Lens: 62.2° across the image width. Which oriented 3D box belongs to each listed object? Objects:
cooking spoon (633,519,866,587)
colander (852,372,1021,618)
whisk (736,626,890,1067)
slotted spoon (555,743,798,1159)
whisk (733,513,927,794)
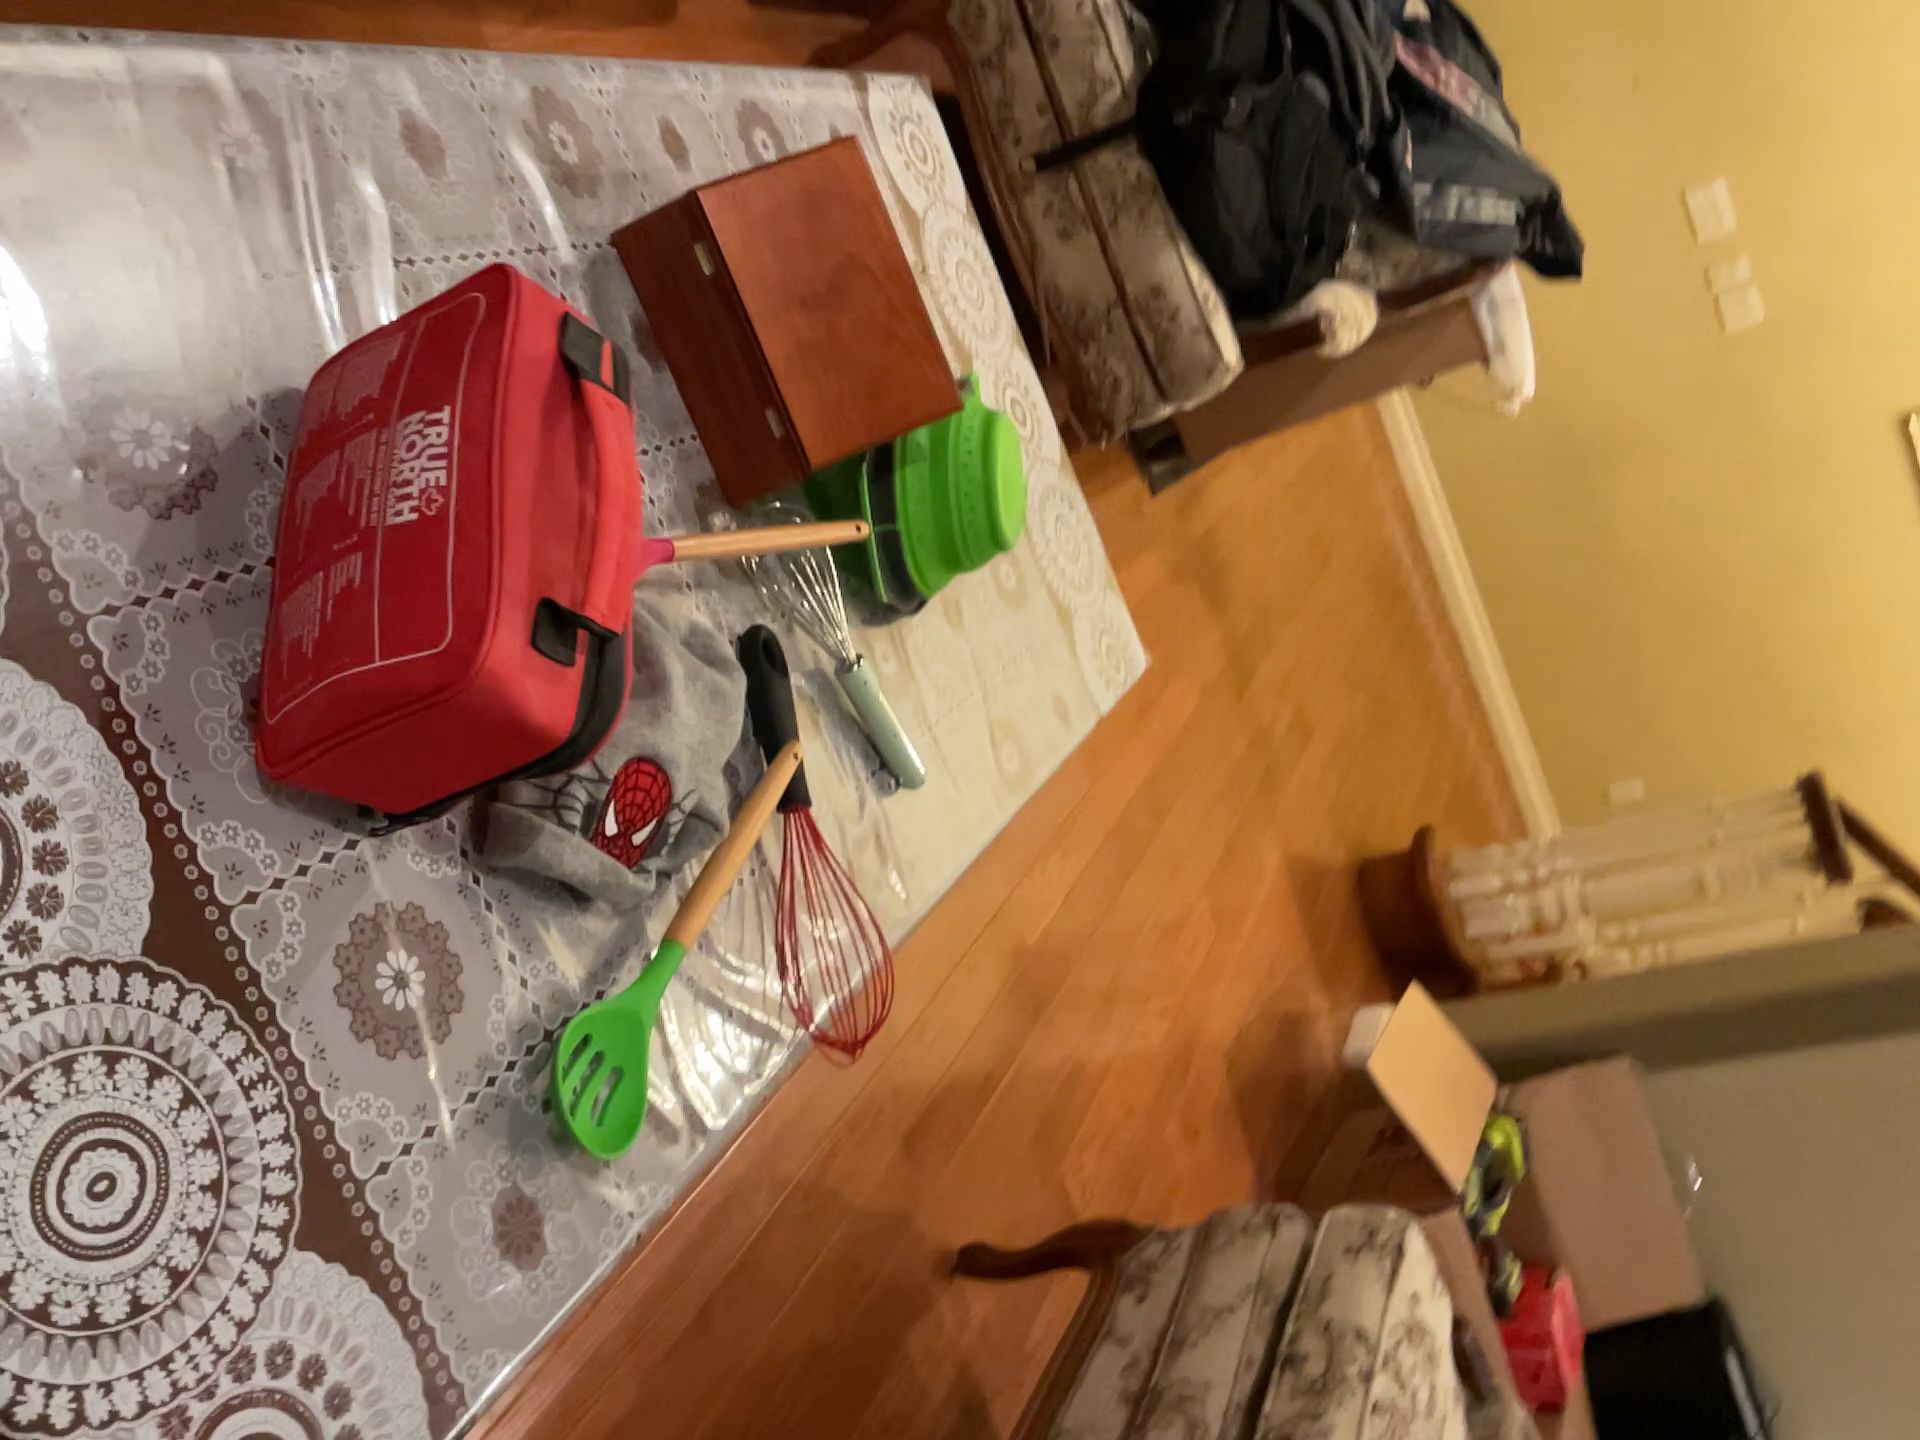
[{"bbox_3d":[-0.163,-0.105,0.976,0.319,0.017,0.069,-16,90,-52],"label":"cooking spoon"},{"bbox_3d":[0.009,-0.220,1.295,0.397,0.094,0.204,-68,154,-61],"label":"colander"},{"bbox_3d":[-0.100,0.074,1.010,0.073,0.073,0.296,10,59,-53],"label":"whisk"},{"bbox_3d":[-0.150,0.114,0.896,0.070,0.031,0.314,58,33,-26],"label":"slotted spoon"},{"bbox_3d":[-0.087,-0.042,1.124,0.058,0.059,0.246,-39,119,-17],"label":"whisk"}]
